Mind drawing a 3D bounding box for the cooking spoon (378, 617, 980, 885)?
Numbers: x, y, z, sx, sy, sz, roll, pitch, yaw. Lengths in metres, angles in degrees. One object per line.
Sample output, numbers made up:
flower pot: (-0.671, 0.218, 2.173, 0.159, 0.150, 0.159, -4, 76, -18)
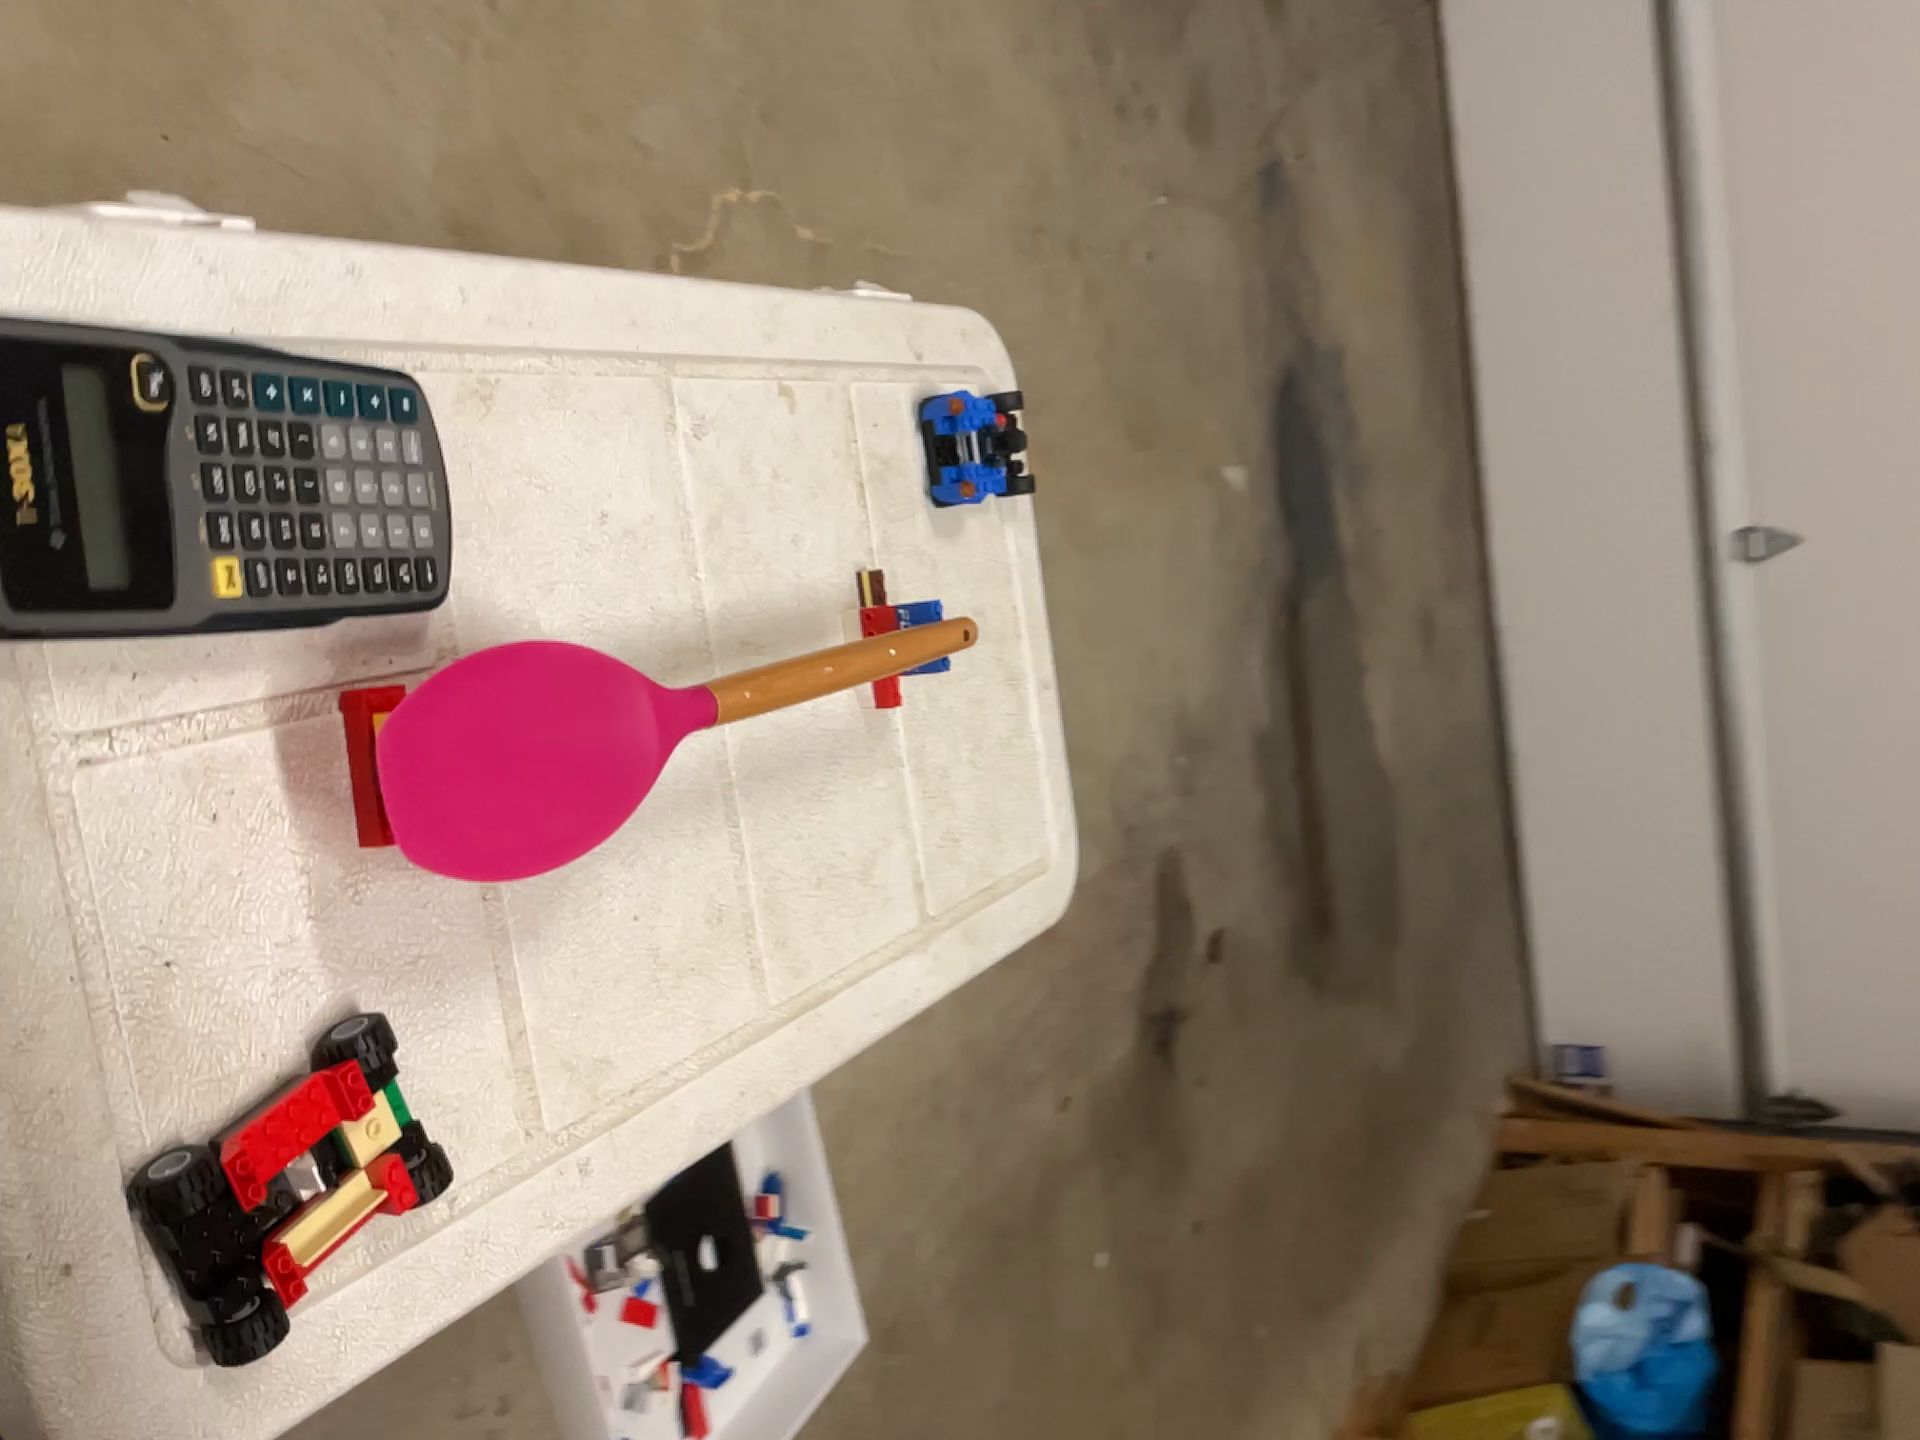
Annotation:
cooking spoon: (-0.076, -0.008, 0.563, 0.319, 0.017, 0.068, -20, 104, -58)
